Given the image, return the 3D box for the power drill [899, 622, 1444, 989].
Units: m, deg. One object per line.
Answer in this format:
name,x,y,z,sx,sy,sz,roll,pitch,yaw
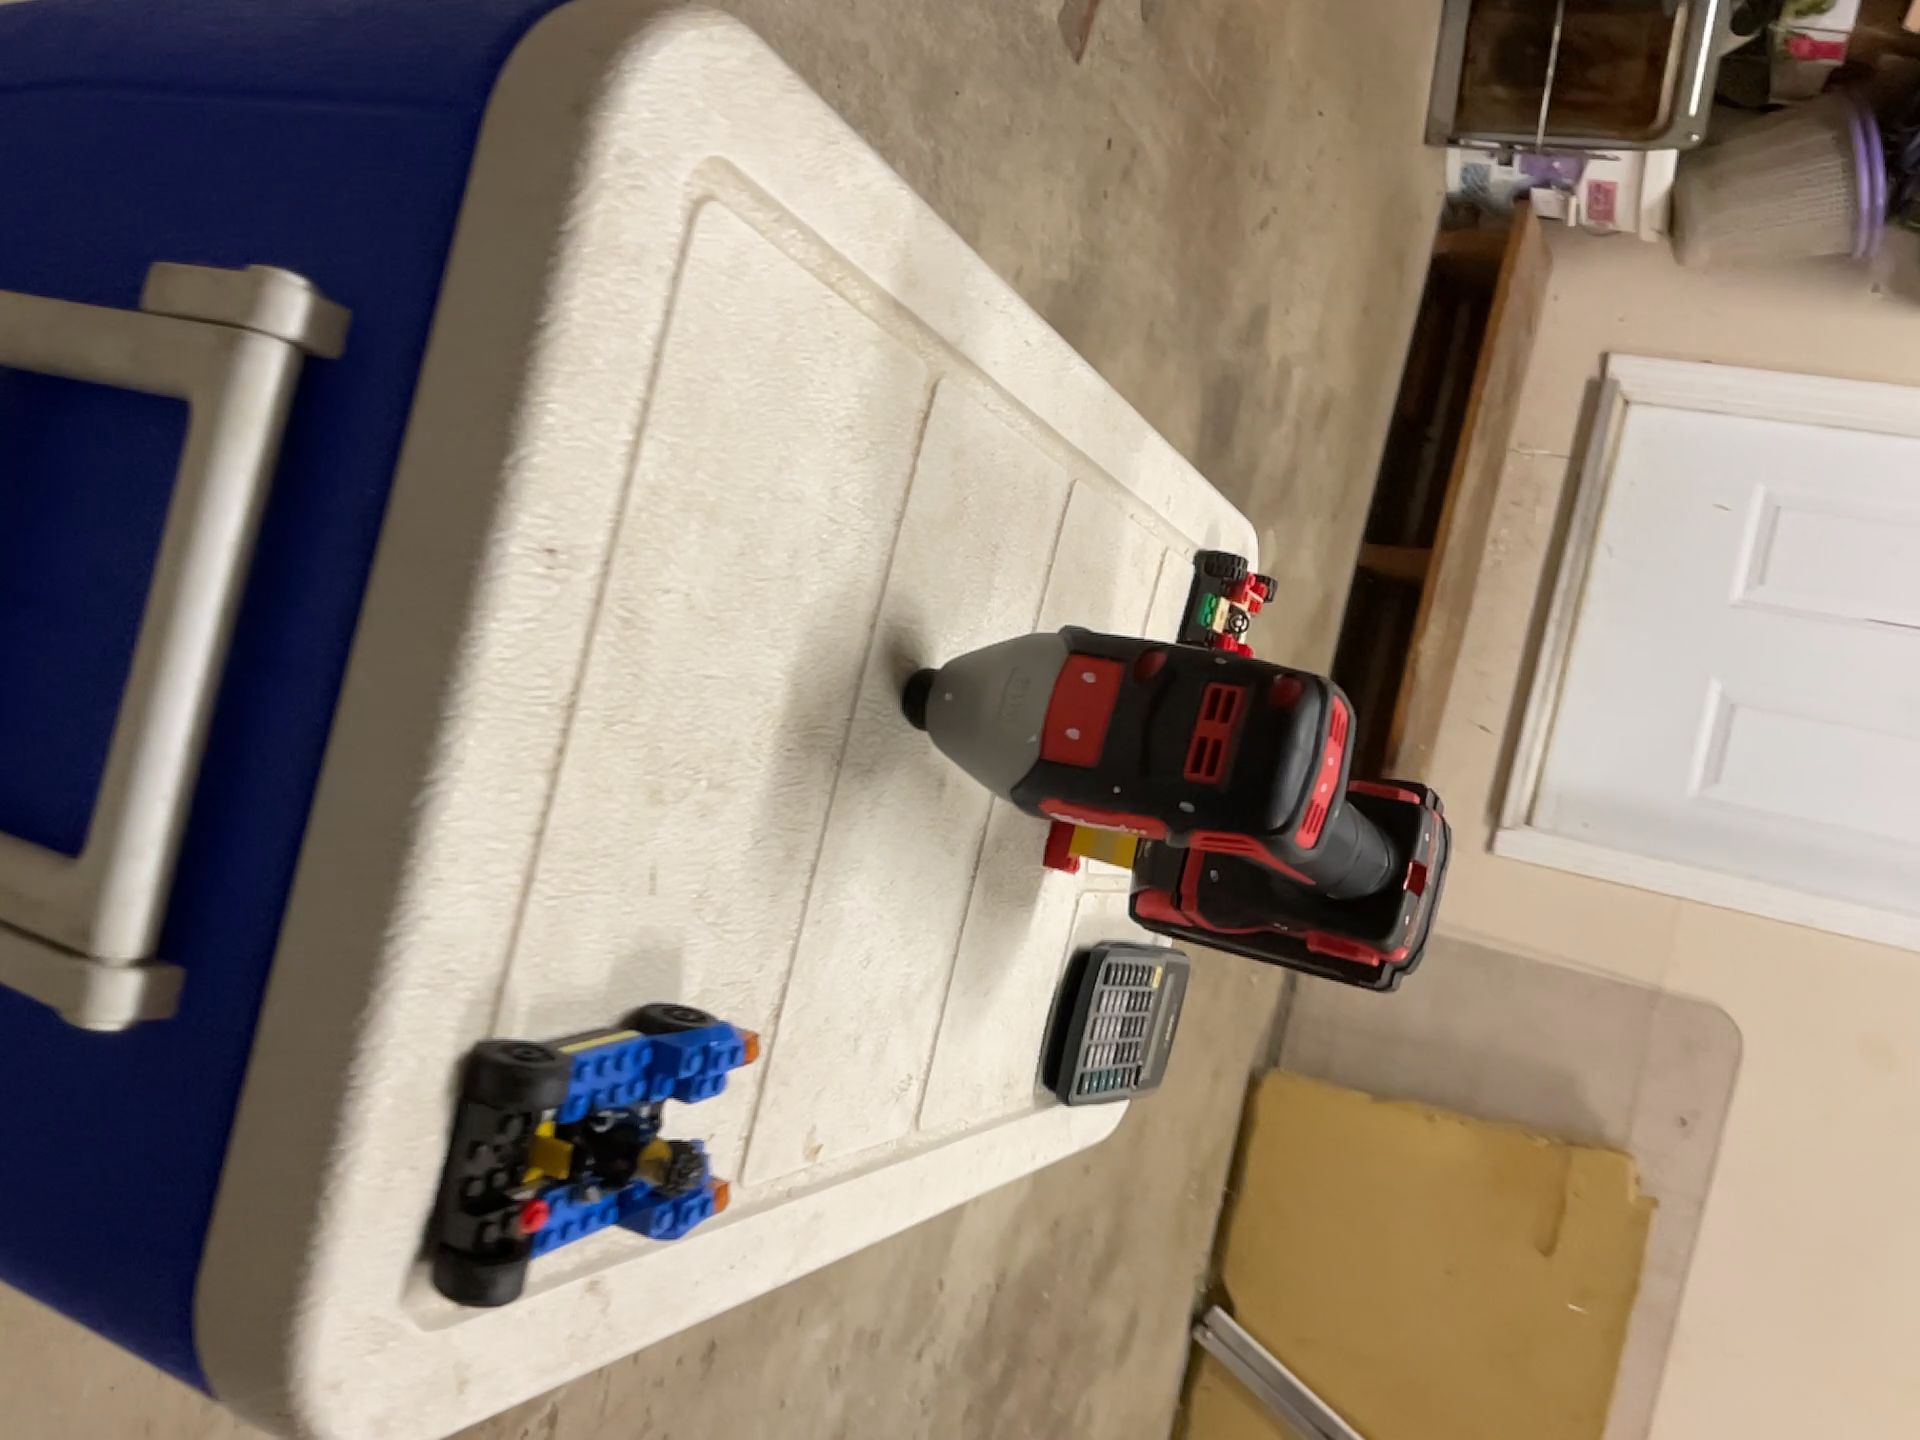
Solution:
power drill,0.080,0.027,0.552,0.219,0.143,0.078,33,71,-57
